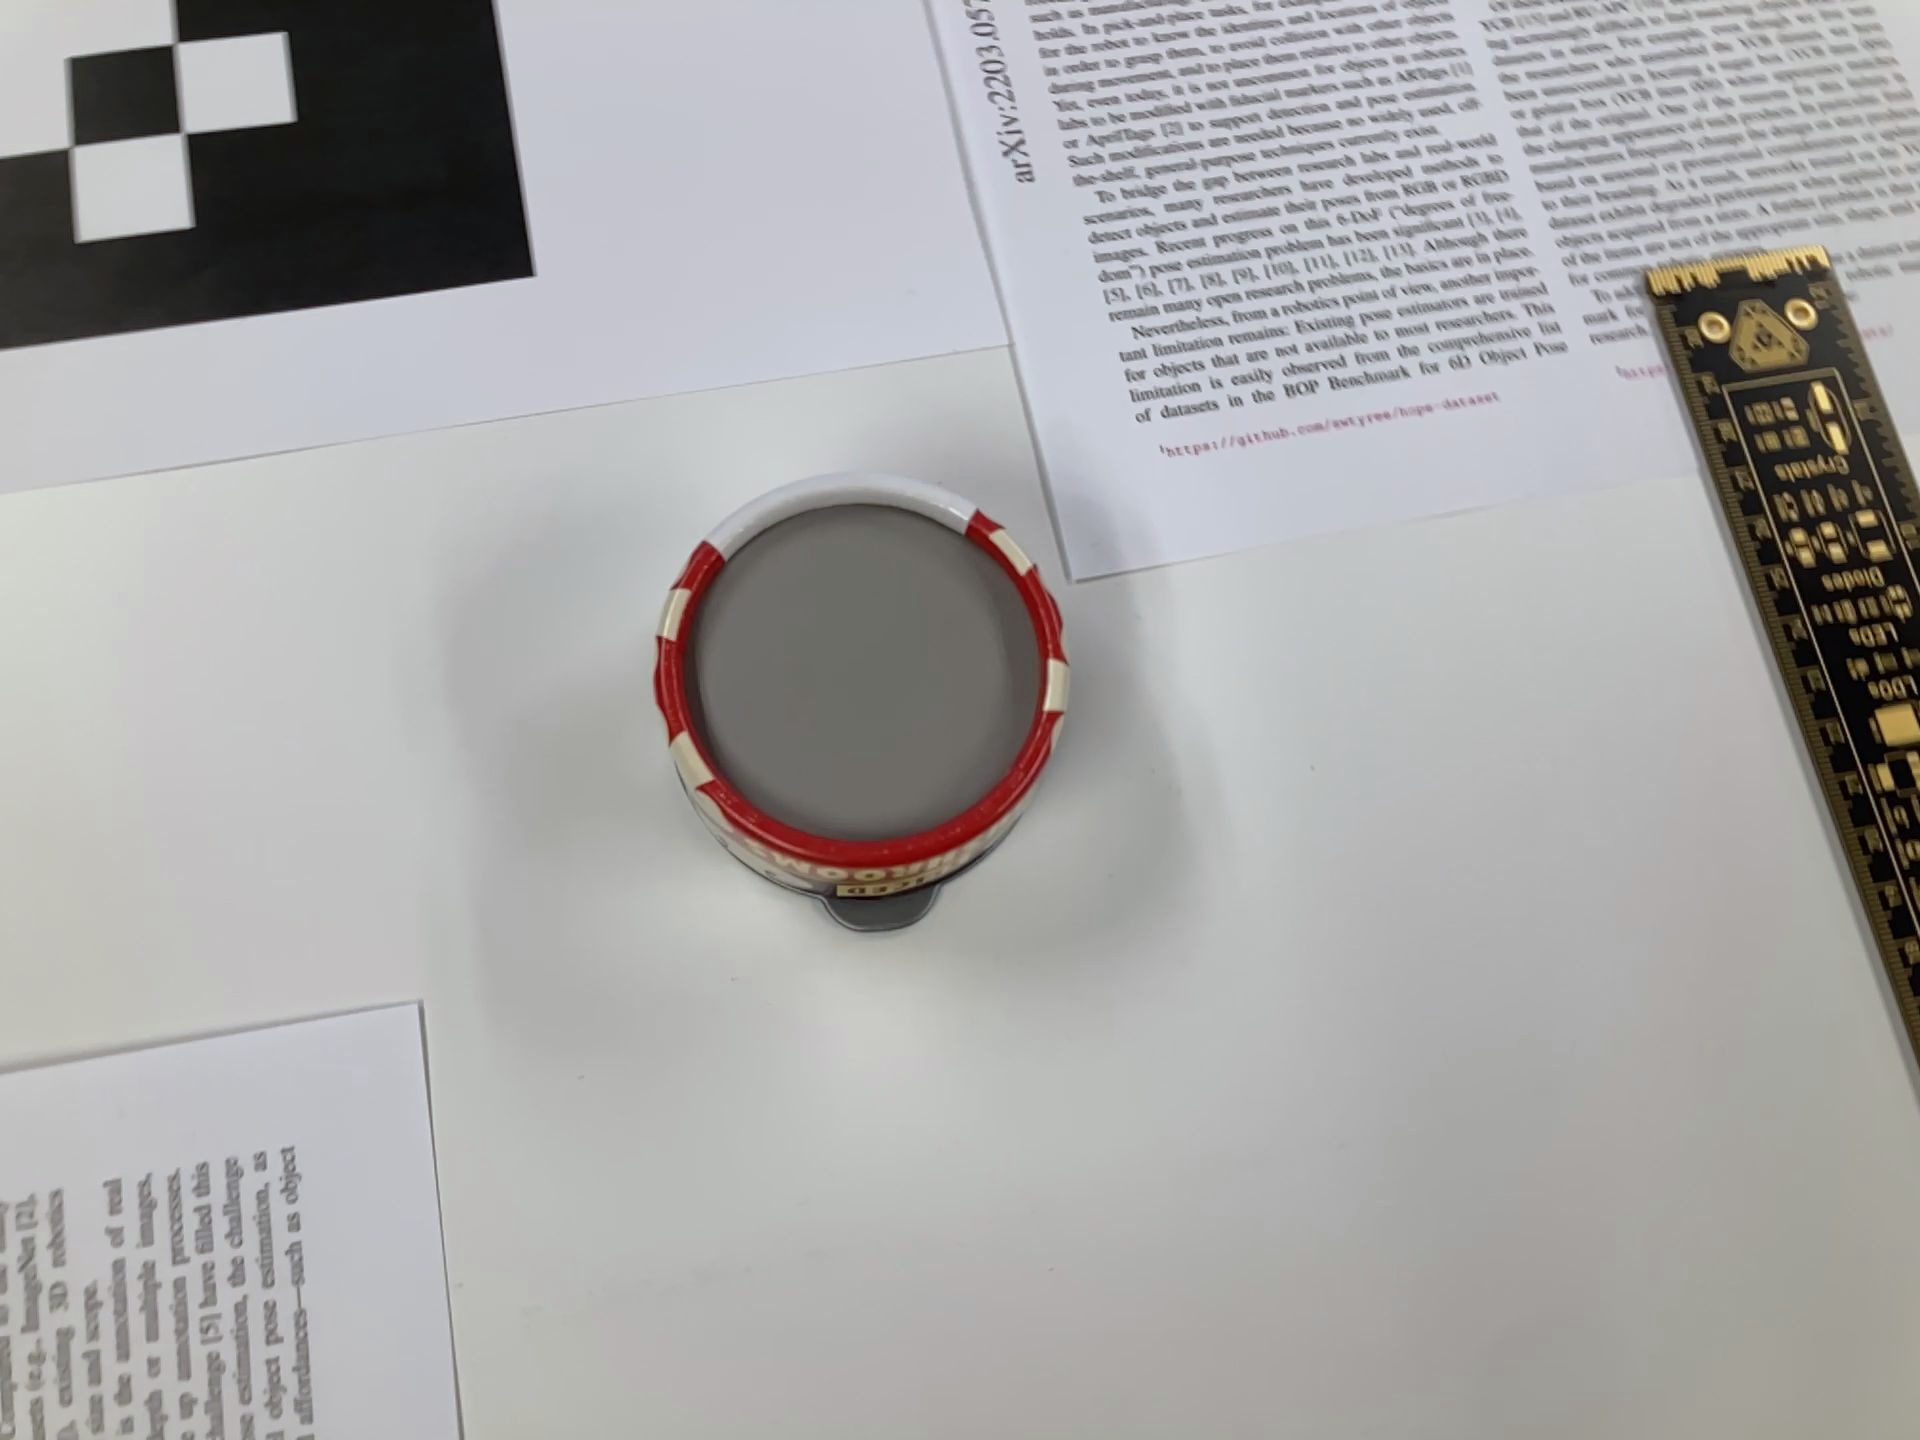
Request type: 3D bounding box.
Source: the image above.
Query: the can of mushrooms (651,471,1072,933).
[{"bbox_3d":[-0.016,-0.003,0.258,0.071,0.033,0.071,1,75,-5],"label":"can of mushrooms"}]
